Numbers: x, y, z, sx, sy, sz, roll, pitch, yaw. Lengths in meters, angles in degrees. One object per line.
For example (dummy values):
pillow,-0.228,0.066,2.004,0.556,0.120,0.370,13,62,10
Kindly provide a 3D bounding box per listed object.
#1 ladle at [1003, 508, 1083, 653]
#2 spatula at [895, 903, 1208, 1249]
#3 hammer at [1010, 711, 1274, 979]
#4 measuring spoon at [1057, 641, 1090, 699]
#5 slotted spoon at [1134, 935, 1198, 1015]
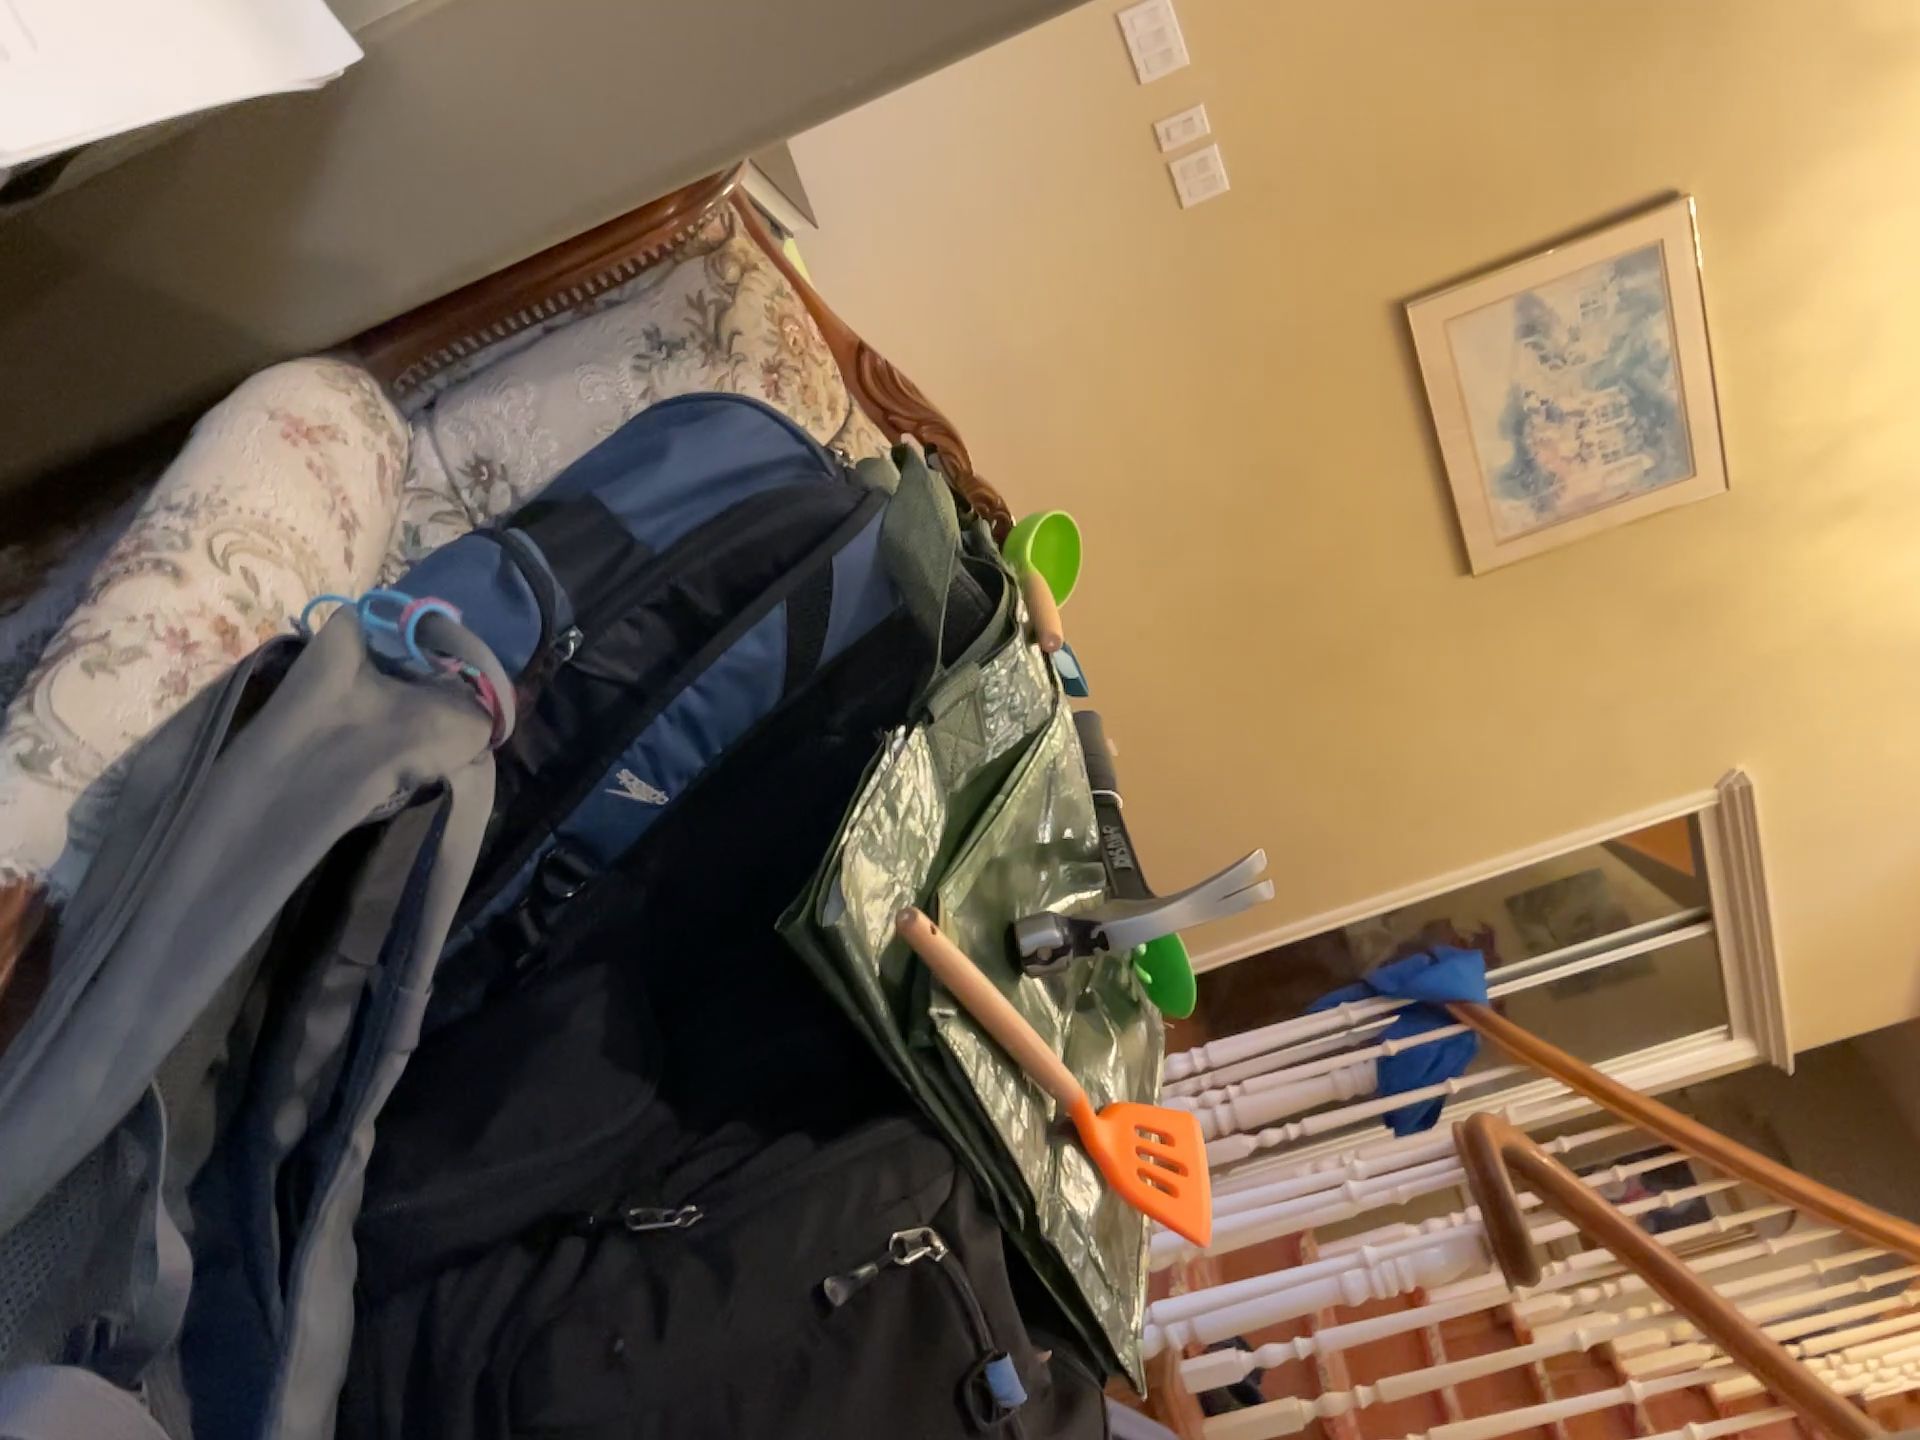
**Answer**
ladle,0.061,-0.084,1.033,0.320,0.062,0.078,-91,-176,-75
spatula,0.054,0.180,0.817,0.322,0.041,0.081,54,27,-43
hammer,0.100,0.060,1.061,0.409,0.149,0.036,-92,168,-74
measuring spoon,0.064,-0.033,1.061,0.128,0.021,0.042,7,61,-78
slotted spoon,0.120,0.119,1.115,0.314,0.031,0.070,-103,-176,-74
